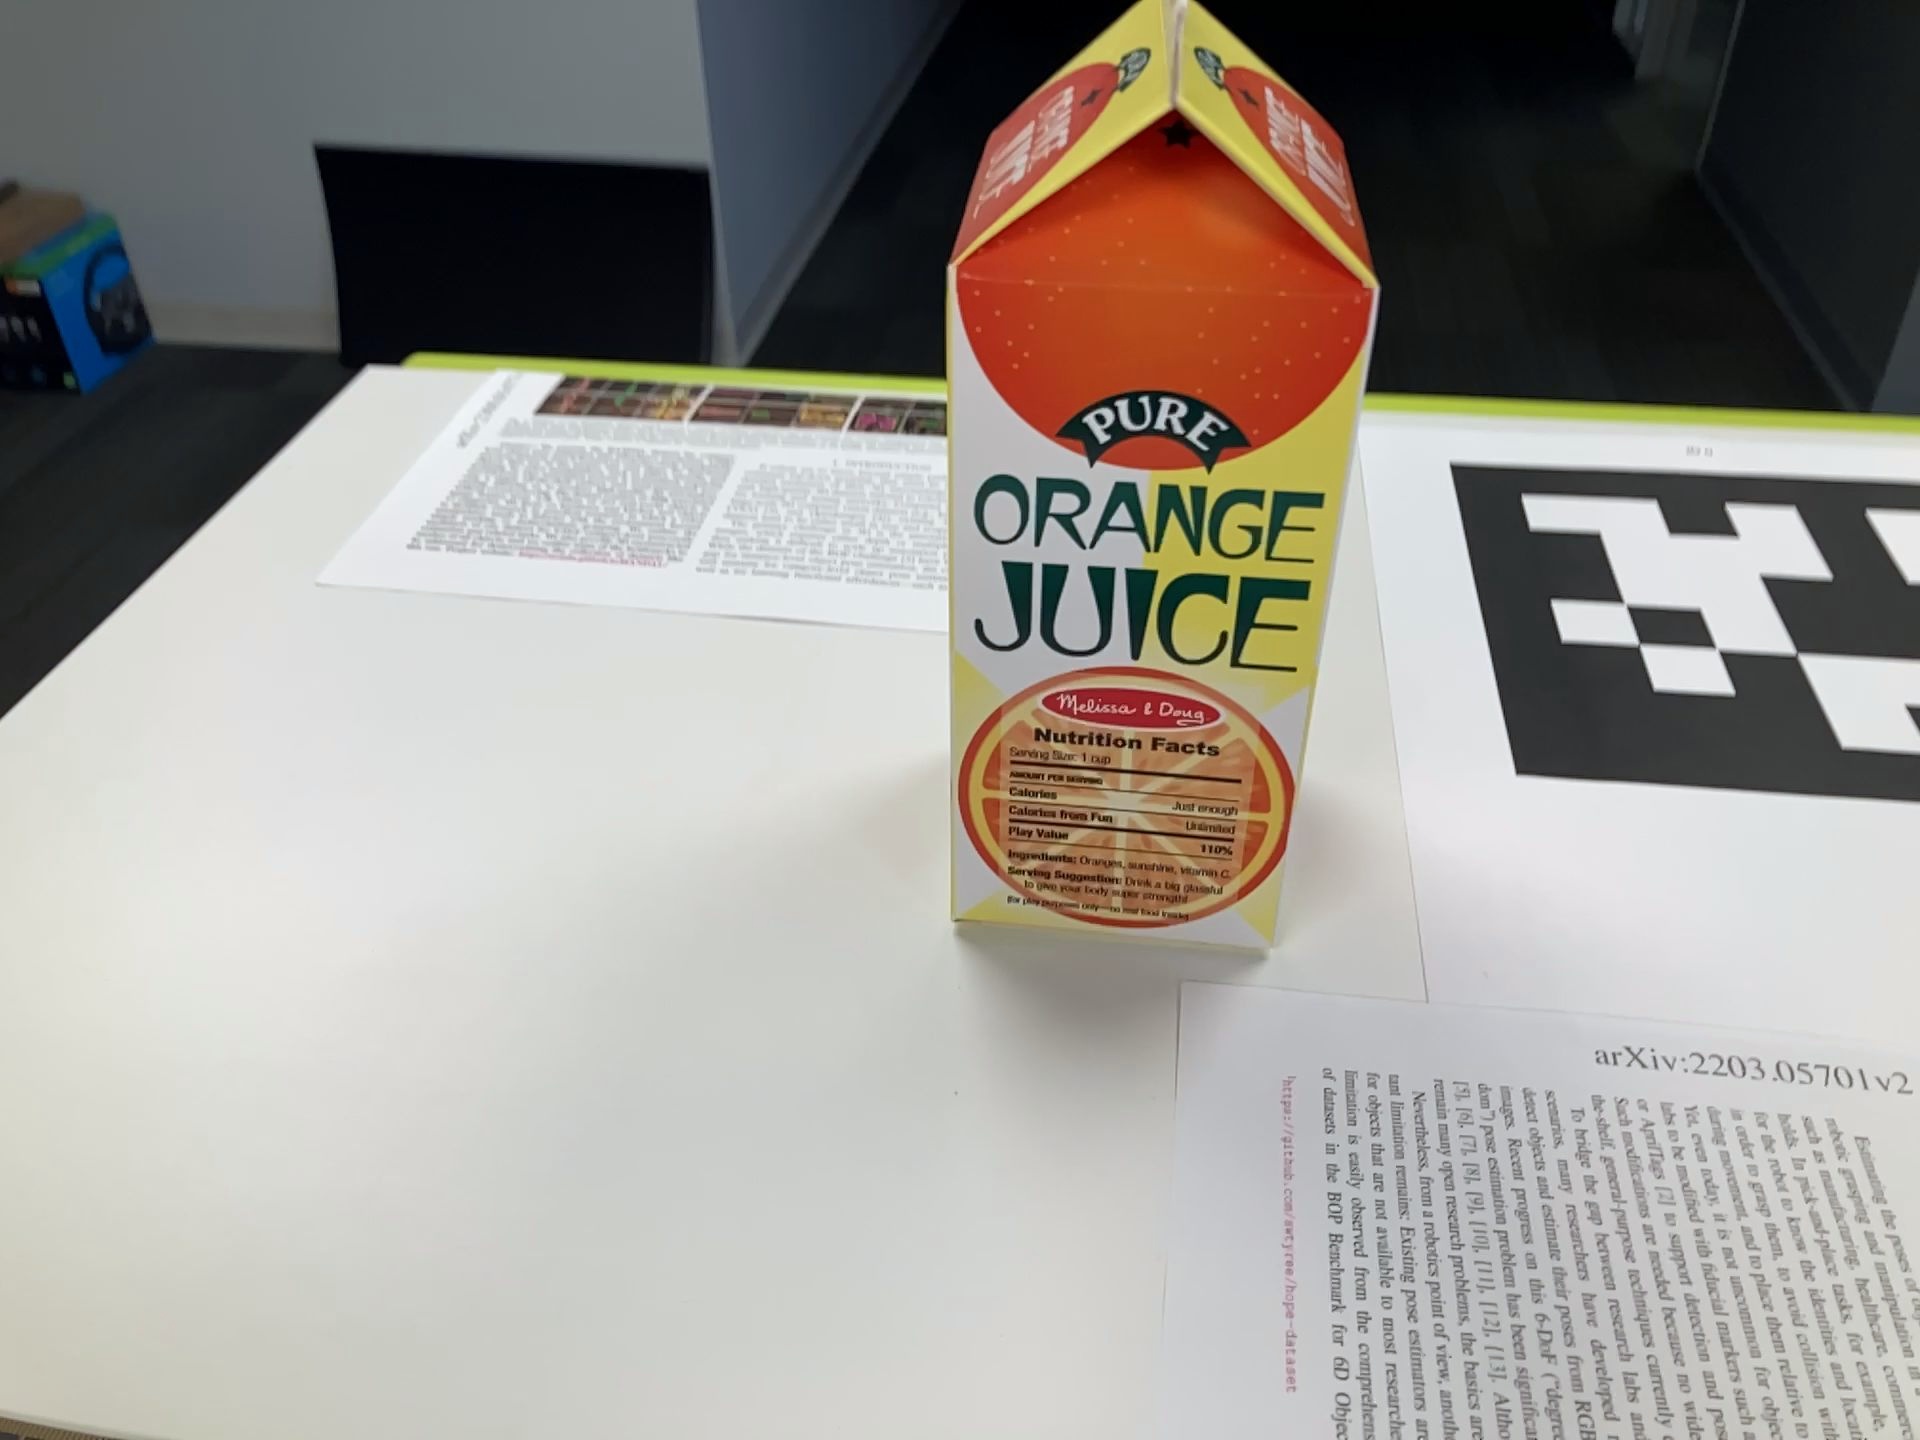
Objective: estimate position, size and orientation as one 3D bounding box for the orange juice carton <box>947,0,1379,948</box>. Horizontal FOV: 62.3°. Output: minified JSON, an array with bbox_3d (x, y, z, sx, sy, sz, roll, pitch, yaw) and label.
[{"bbox_3d":[0.036,-0.049,0.317,0.073,0.192,0.072,4,36,6],"label":"orange juice carton"}]
